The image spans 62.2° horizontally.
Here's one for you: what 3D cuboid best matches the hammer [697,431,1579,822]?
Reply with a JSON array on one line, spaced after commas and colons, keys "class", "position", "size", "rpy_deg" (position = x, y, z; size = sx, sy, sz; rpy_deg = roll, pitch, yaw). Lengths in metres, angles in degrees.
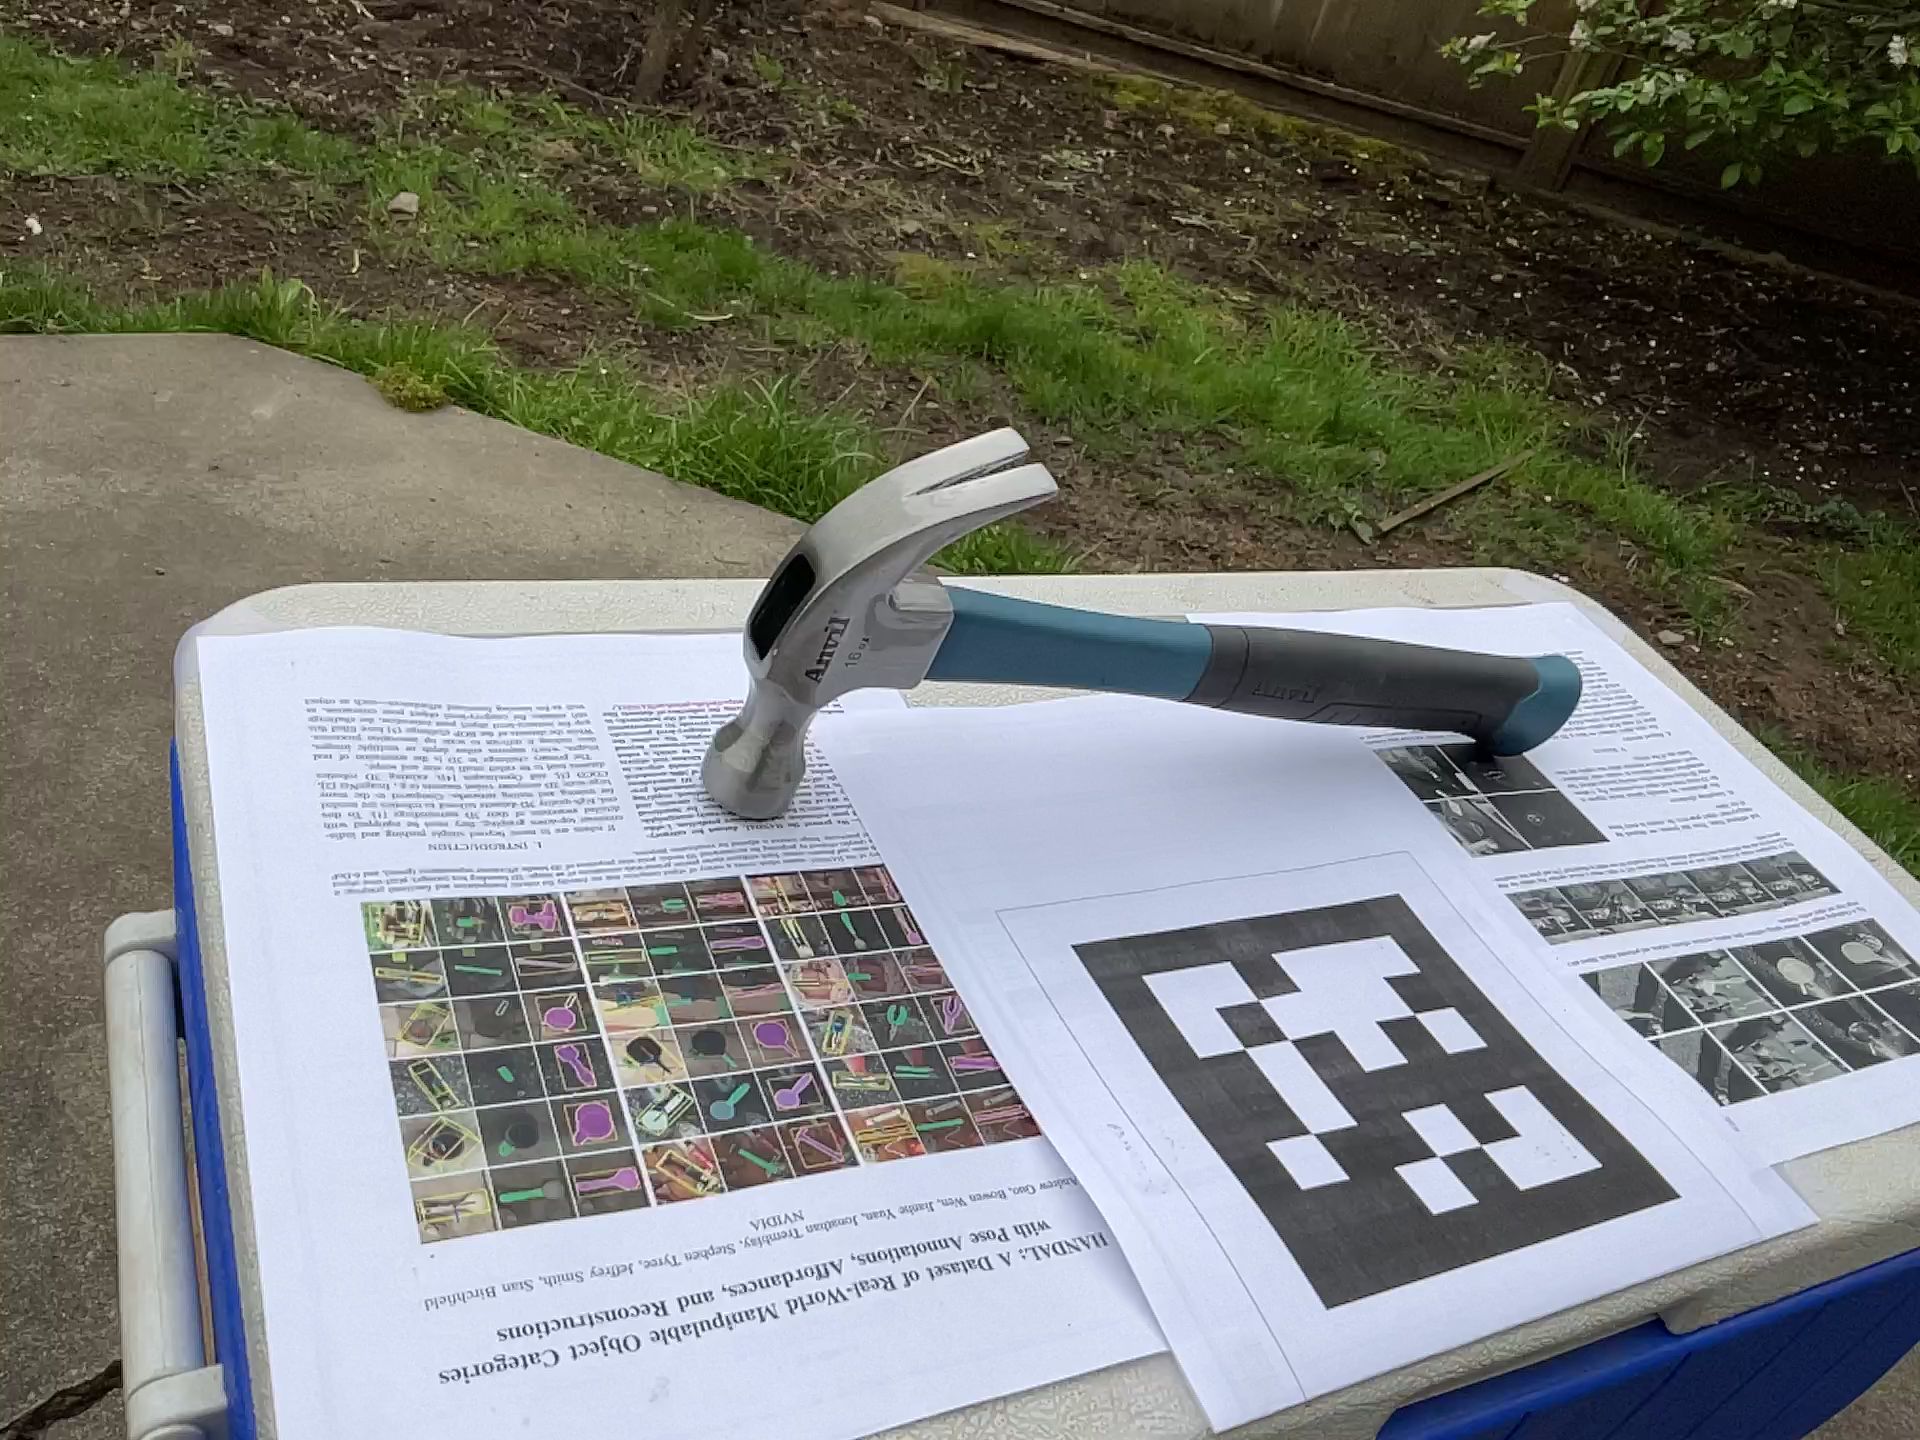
[{"class": "hammer", "position": [0.085, -0.016, 0.528], "size": [0.331, 0.128, 0.033], "rpy_deg": [5, 38, -32]}]
